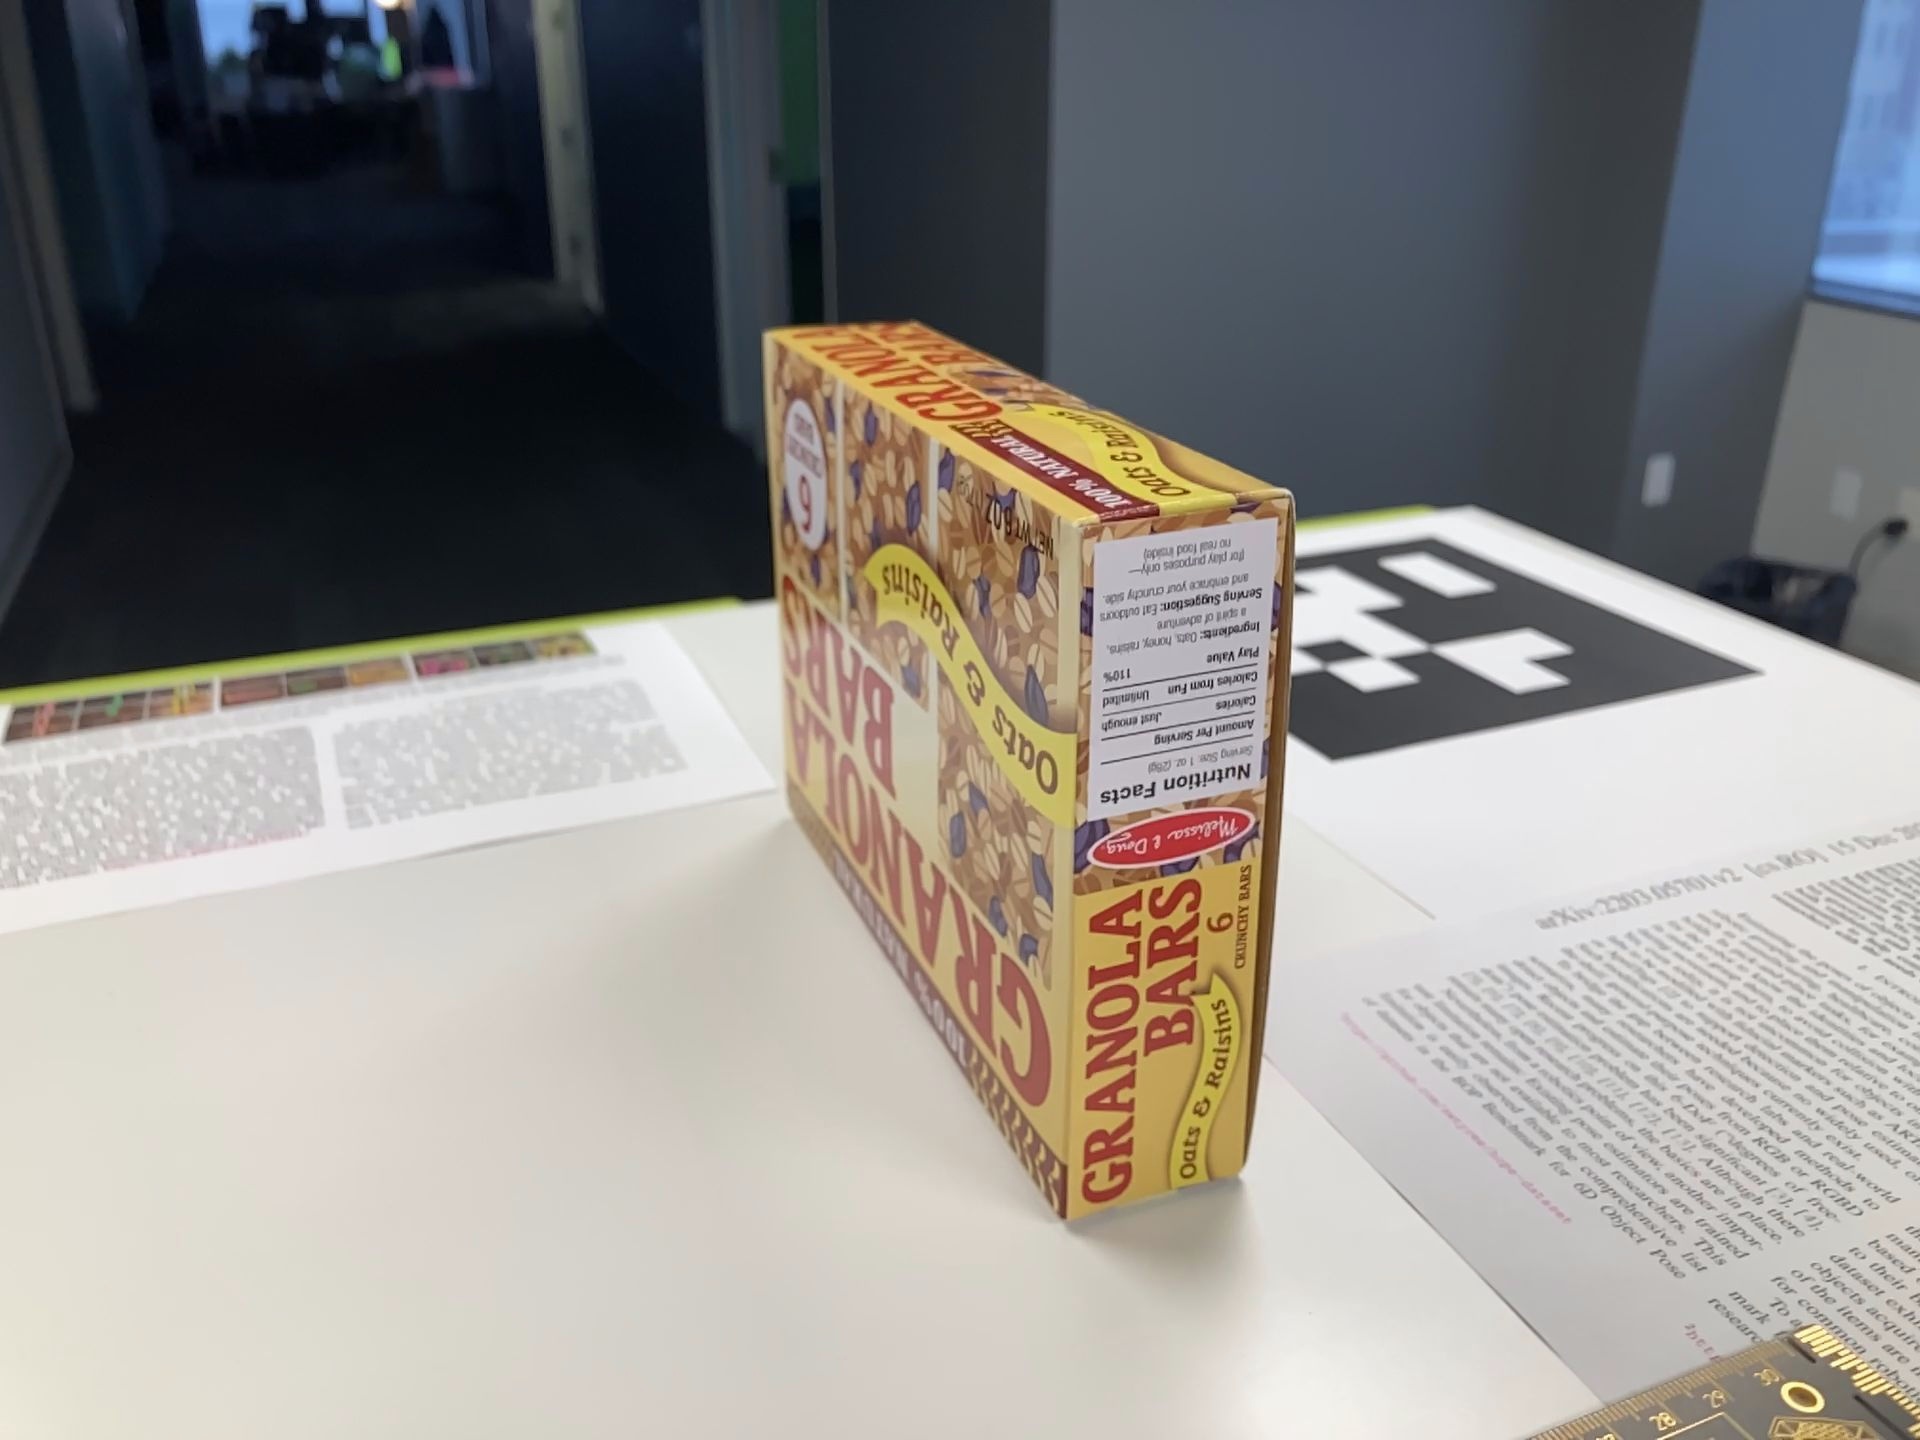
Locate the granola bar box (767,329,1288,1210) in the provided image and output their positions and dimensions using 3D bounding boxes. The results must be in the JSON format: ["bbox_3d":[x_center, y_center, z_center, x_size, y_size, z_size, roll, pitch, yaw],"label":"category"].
[{"bbox_3d":[0.003,-0.004,0.324,0.039,0.124,0.165,-9,25,-20],"label":"granola bar box"}]
